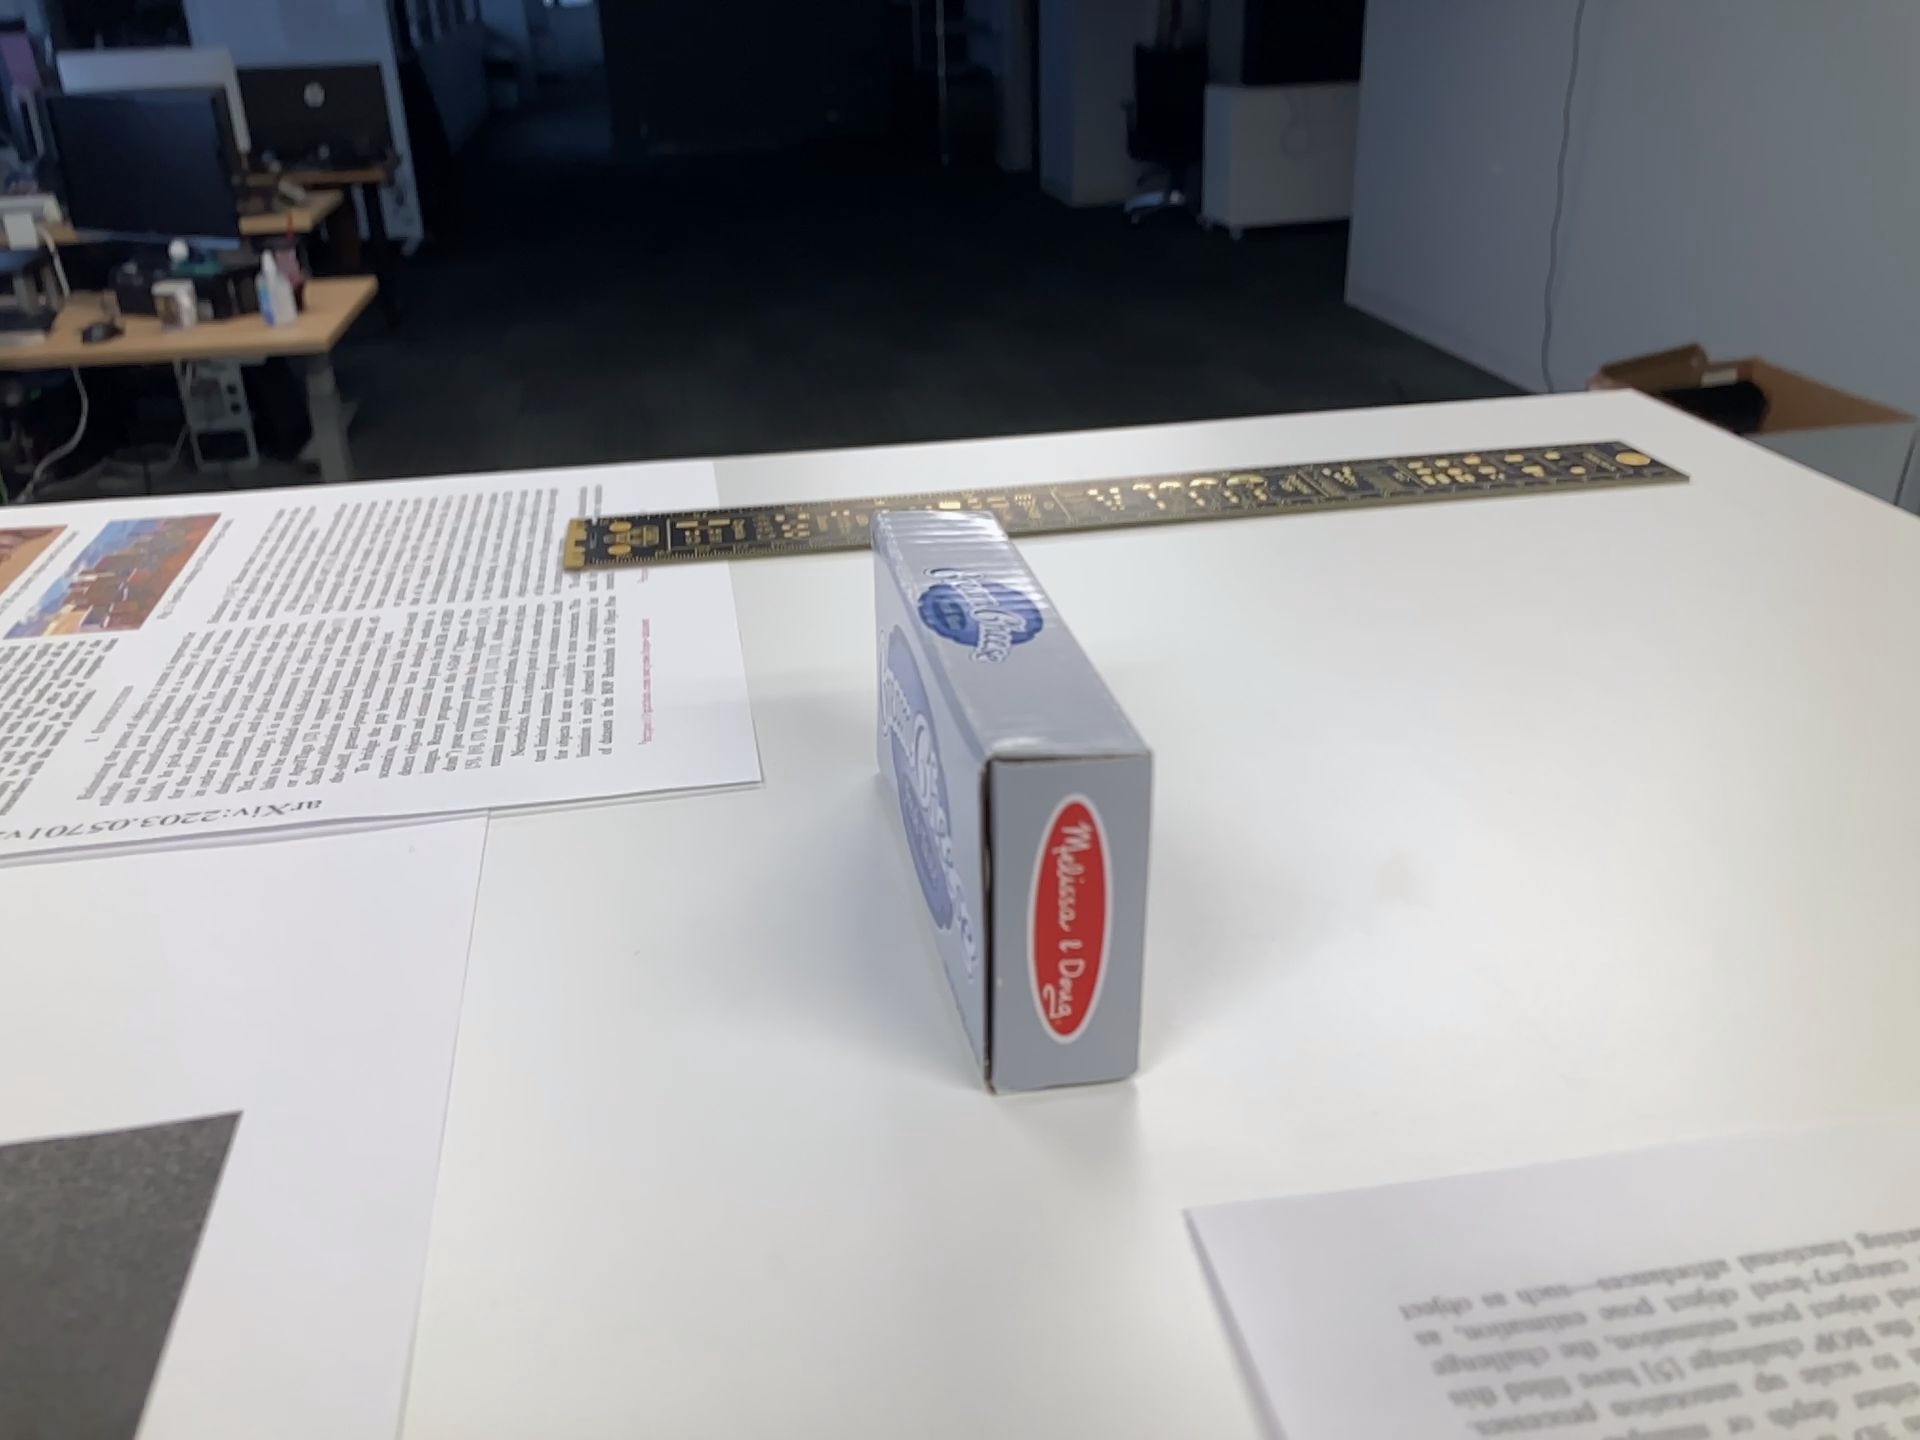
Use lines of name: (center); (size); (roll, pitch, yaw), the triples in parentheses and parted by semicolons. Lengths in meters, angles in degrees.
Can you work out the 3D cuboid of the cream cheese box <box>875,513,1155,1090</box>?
cream cheese box: (0.005, 0.006, 0.258); (0.024, 0.053, 0.104); (-4, 26, -10)
